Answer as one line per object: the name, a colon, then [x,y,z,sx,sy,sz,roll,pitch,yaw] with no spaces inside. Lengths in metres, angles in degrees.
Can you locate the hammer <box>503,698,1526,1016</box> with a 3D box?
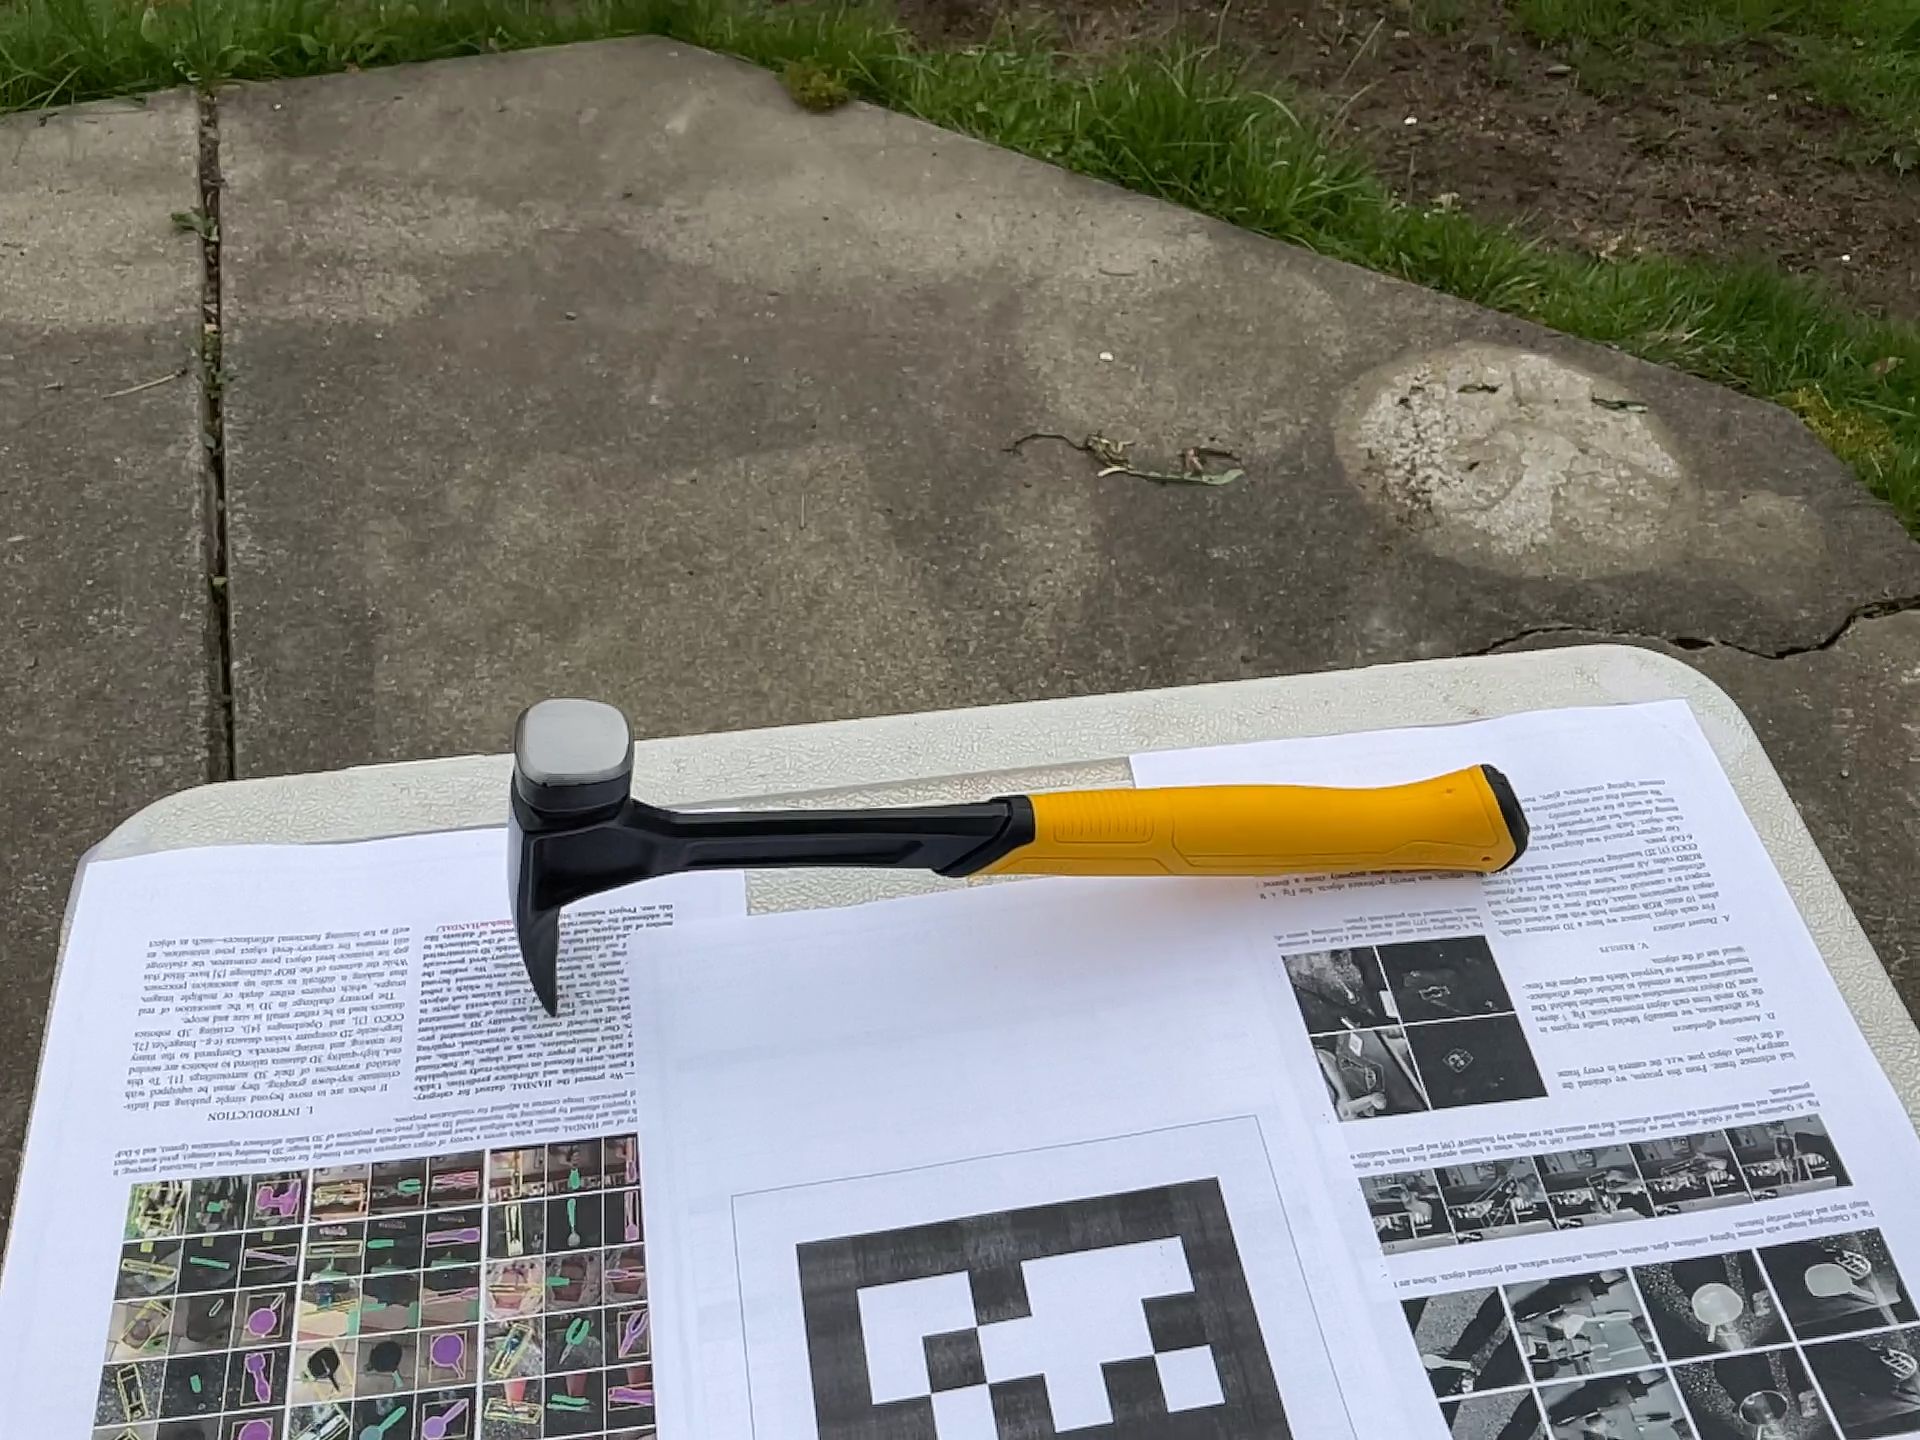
hammer: [0.027,0.042,0.517,0.336,0.127,0.034,0,52,-16]
